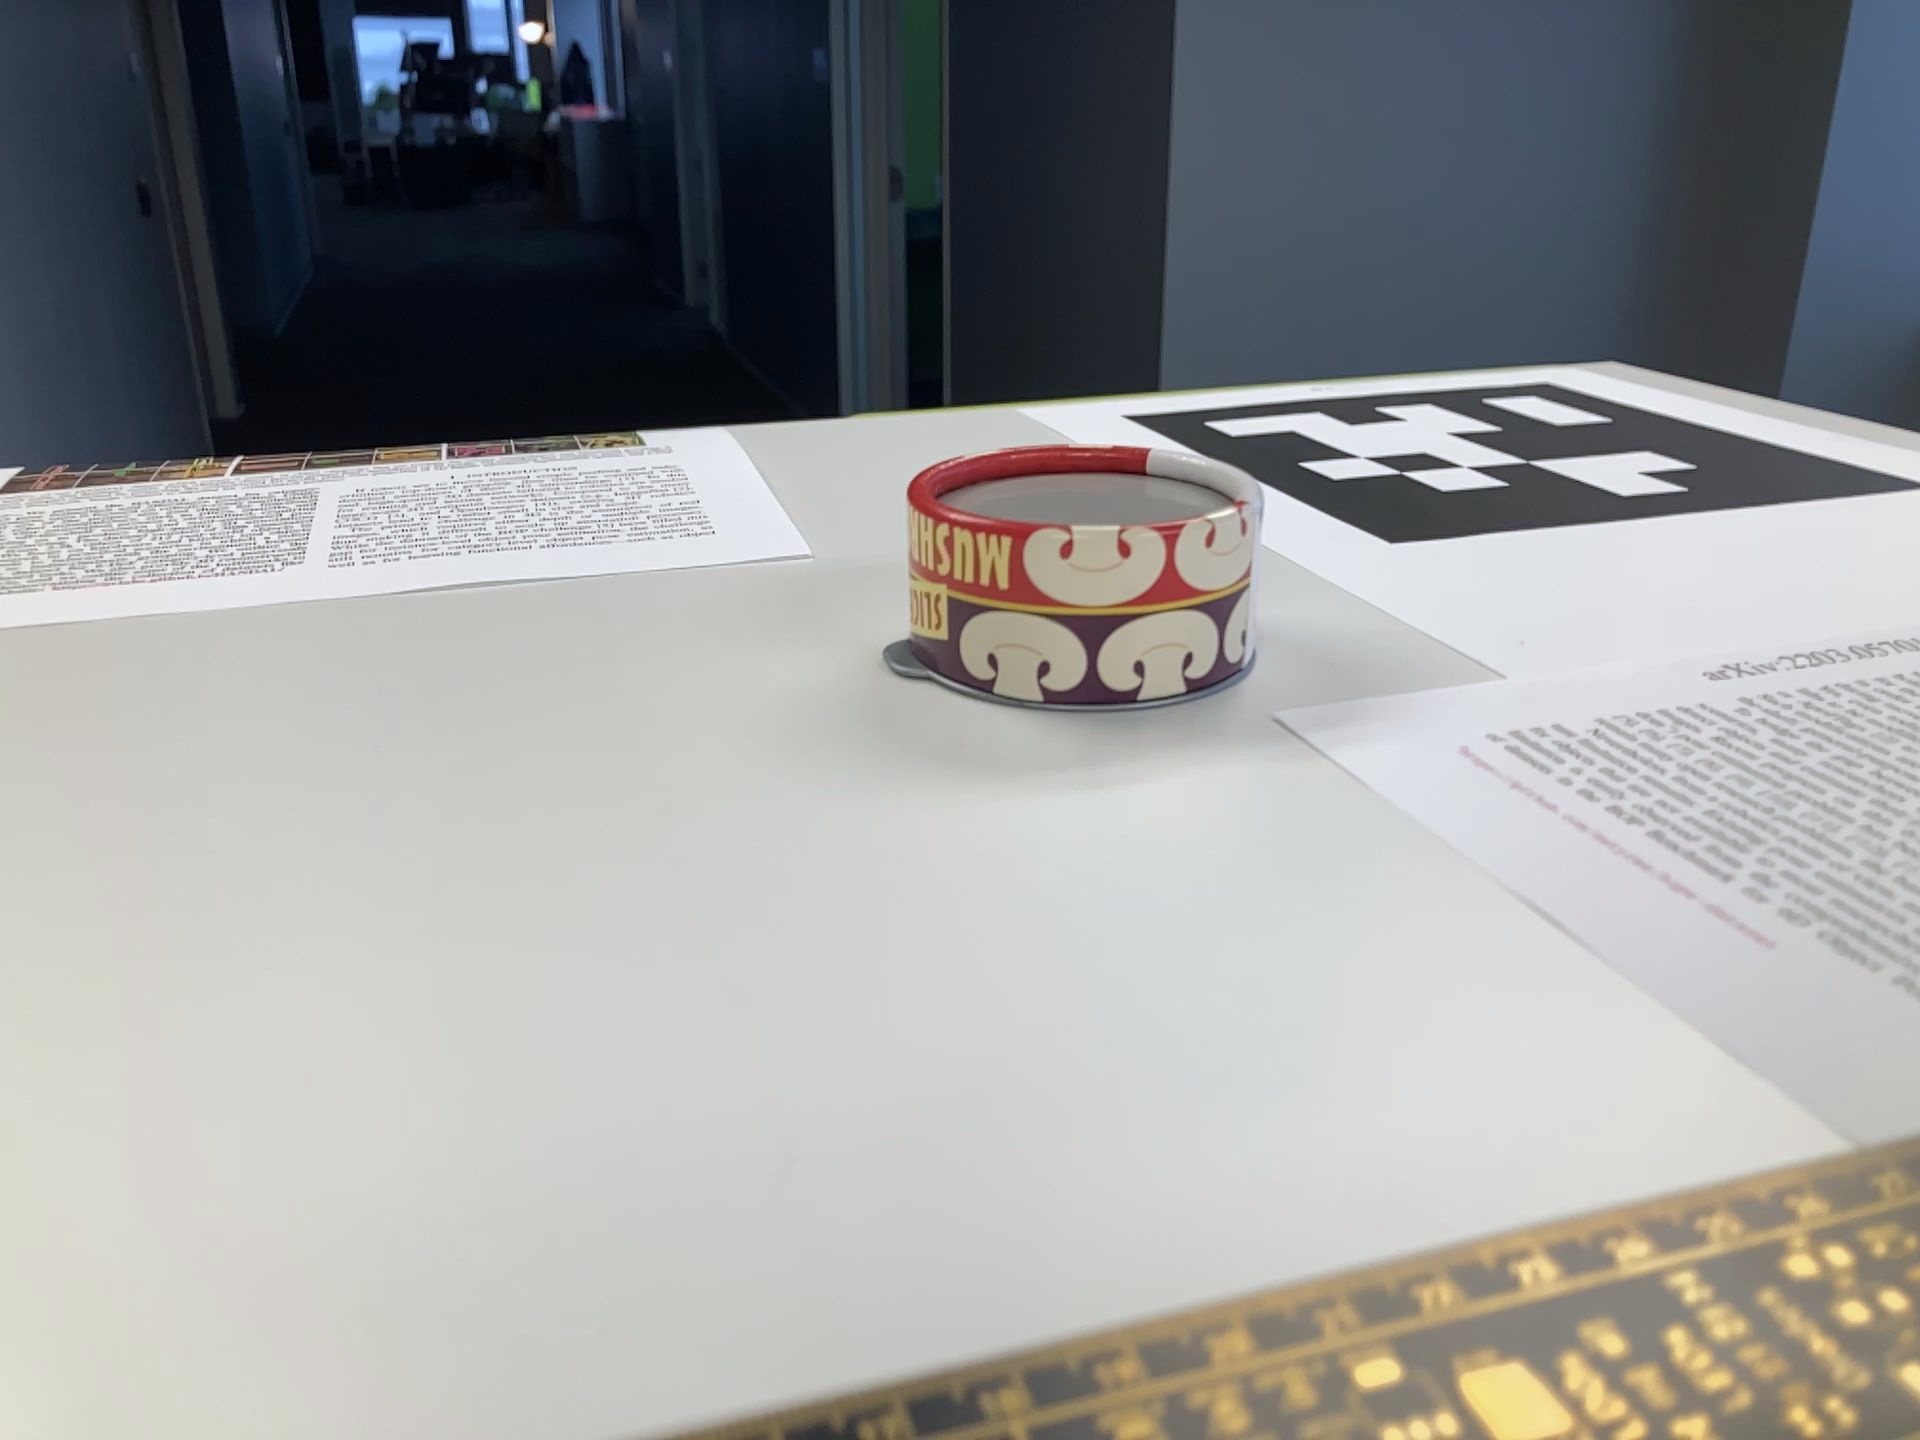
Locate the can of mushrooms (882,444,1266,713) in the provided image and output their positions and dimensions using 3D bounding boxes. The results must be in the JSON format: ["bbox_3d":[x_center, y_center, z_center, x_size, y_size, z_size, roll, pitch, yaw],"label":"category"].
[{"bbox_3d":[0.020,-0.028,0.291,0.071,0.033,0.071,-1,22,0],"label":"can of mushrooms"}]
